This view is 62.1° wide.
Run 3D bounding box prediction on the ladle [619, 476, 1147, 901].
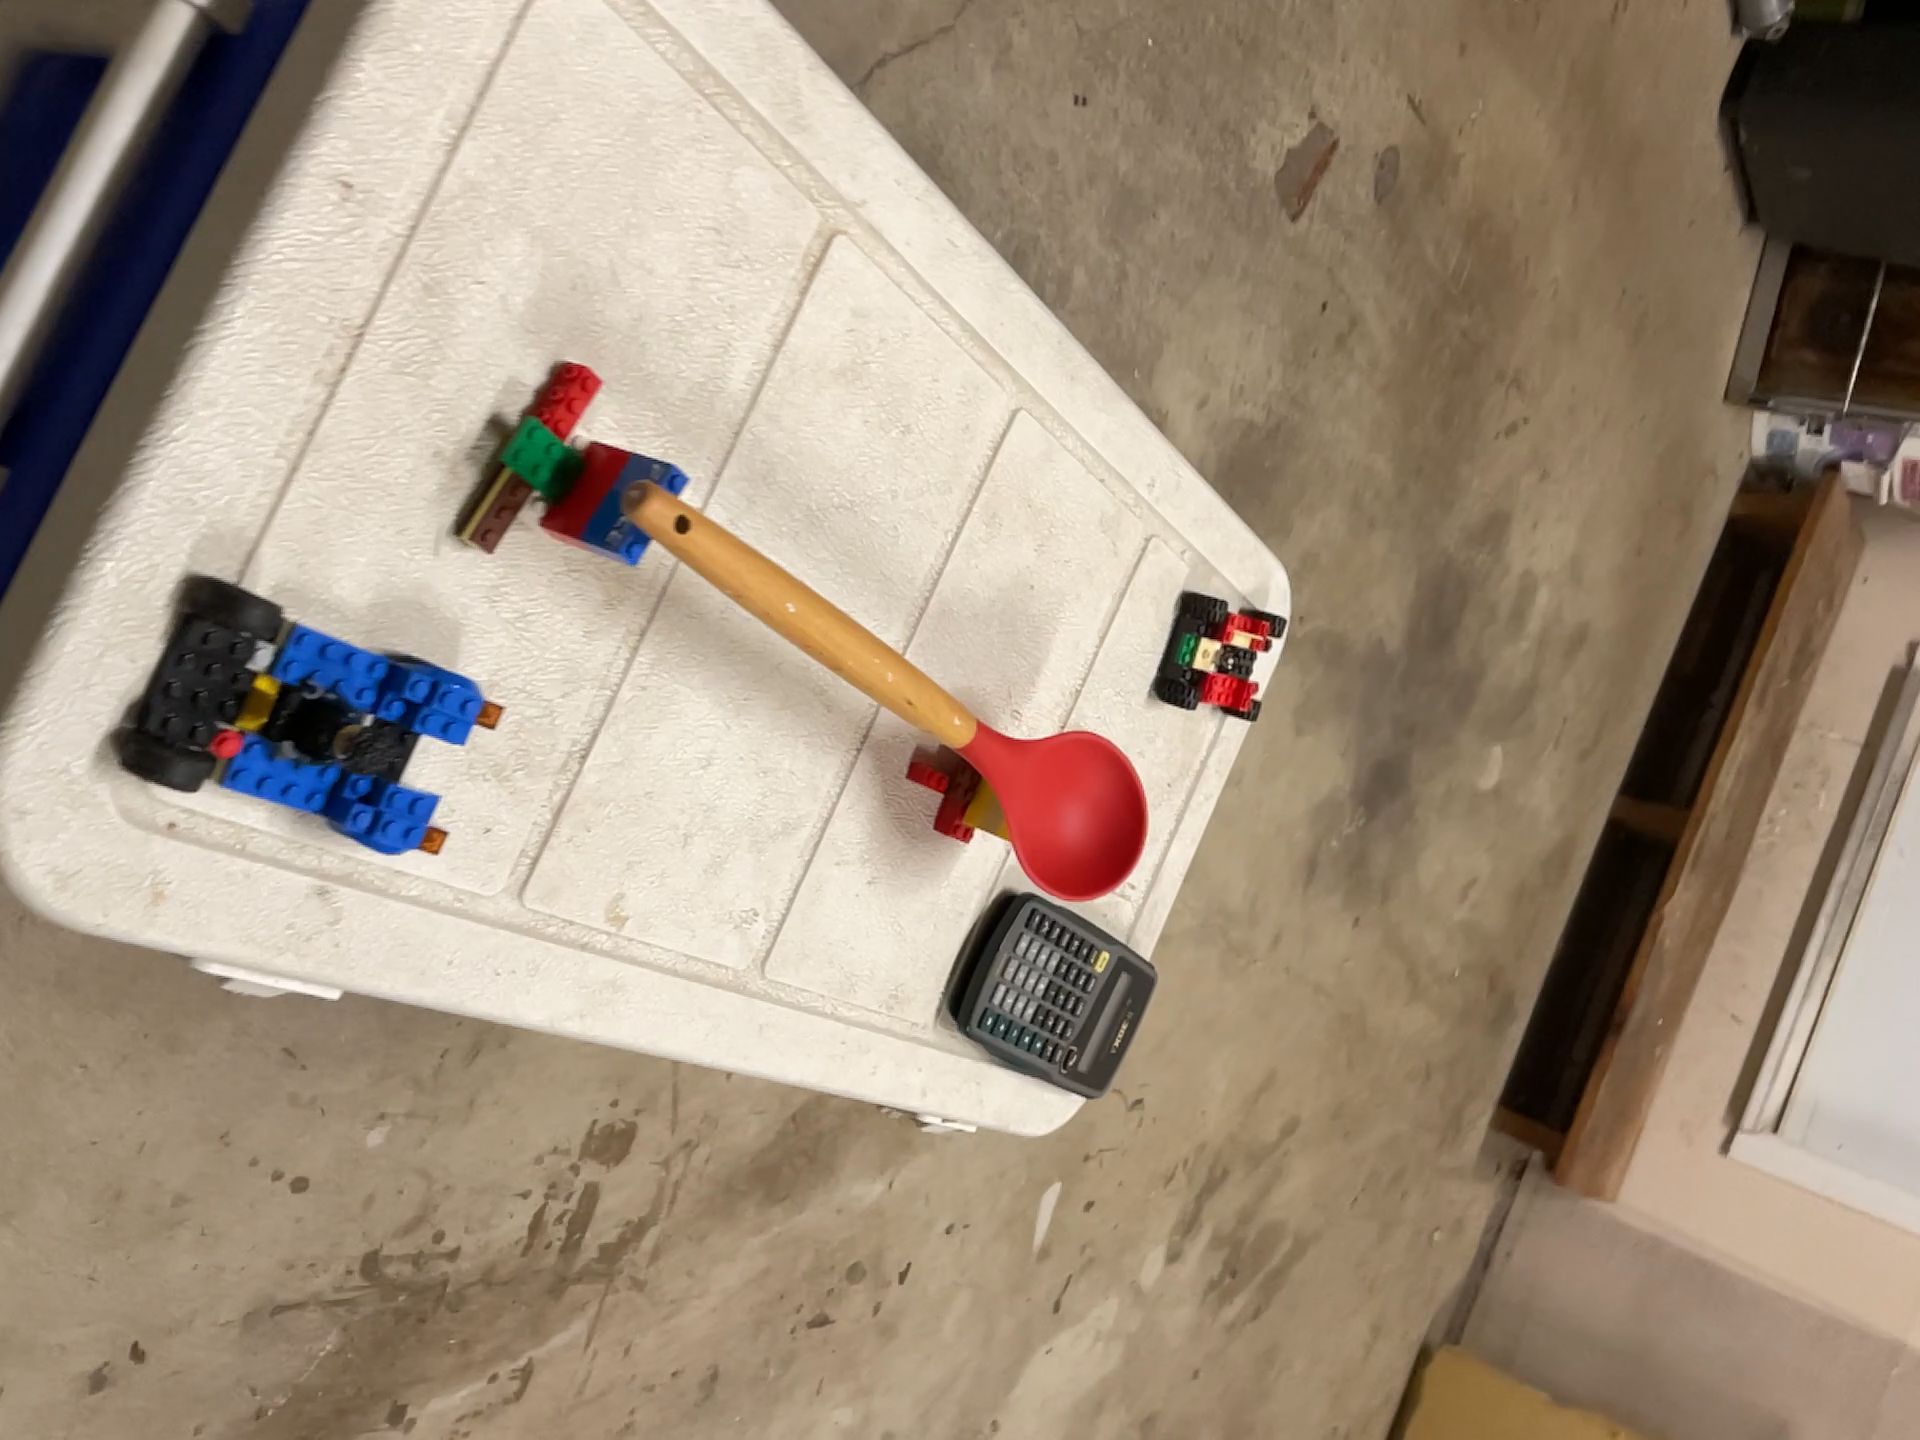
[{"bbox_3d":[-0.013,-0.005,0.570,0.315,0.031,0.069,37,72,-51],"label":"ladle"}]
